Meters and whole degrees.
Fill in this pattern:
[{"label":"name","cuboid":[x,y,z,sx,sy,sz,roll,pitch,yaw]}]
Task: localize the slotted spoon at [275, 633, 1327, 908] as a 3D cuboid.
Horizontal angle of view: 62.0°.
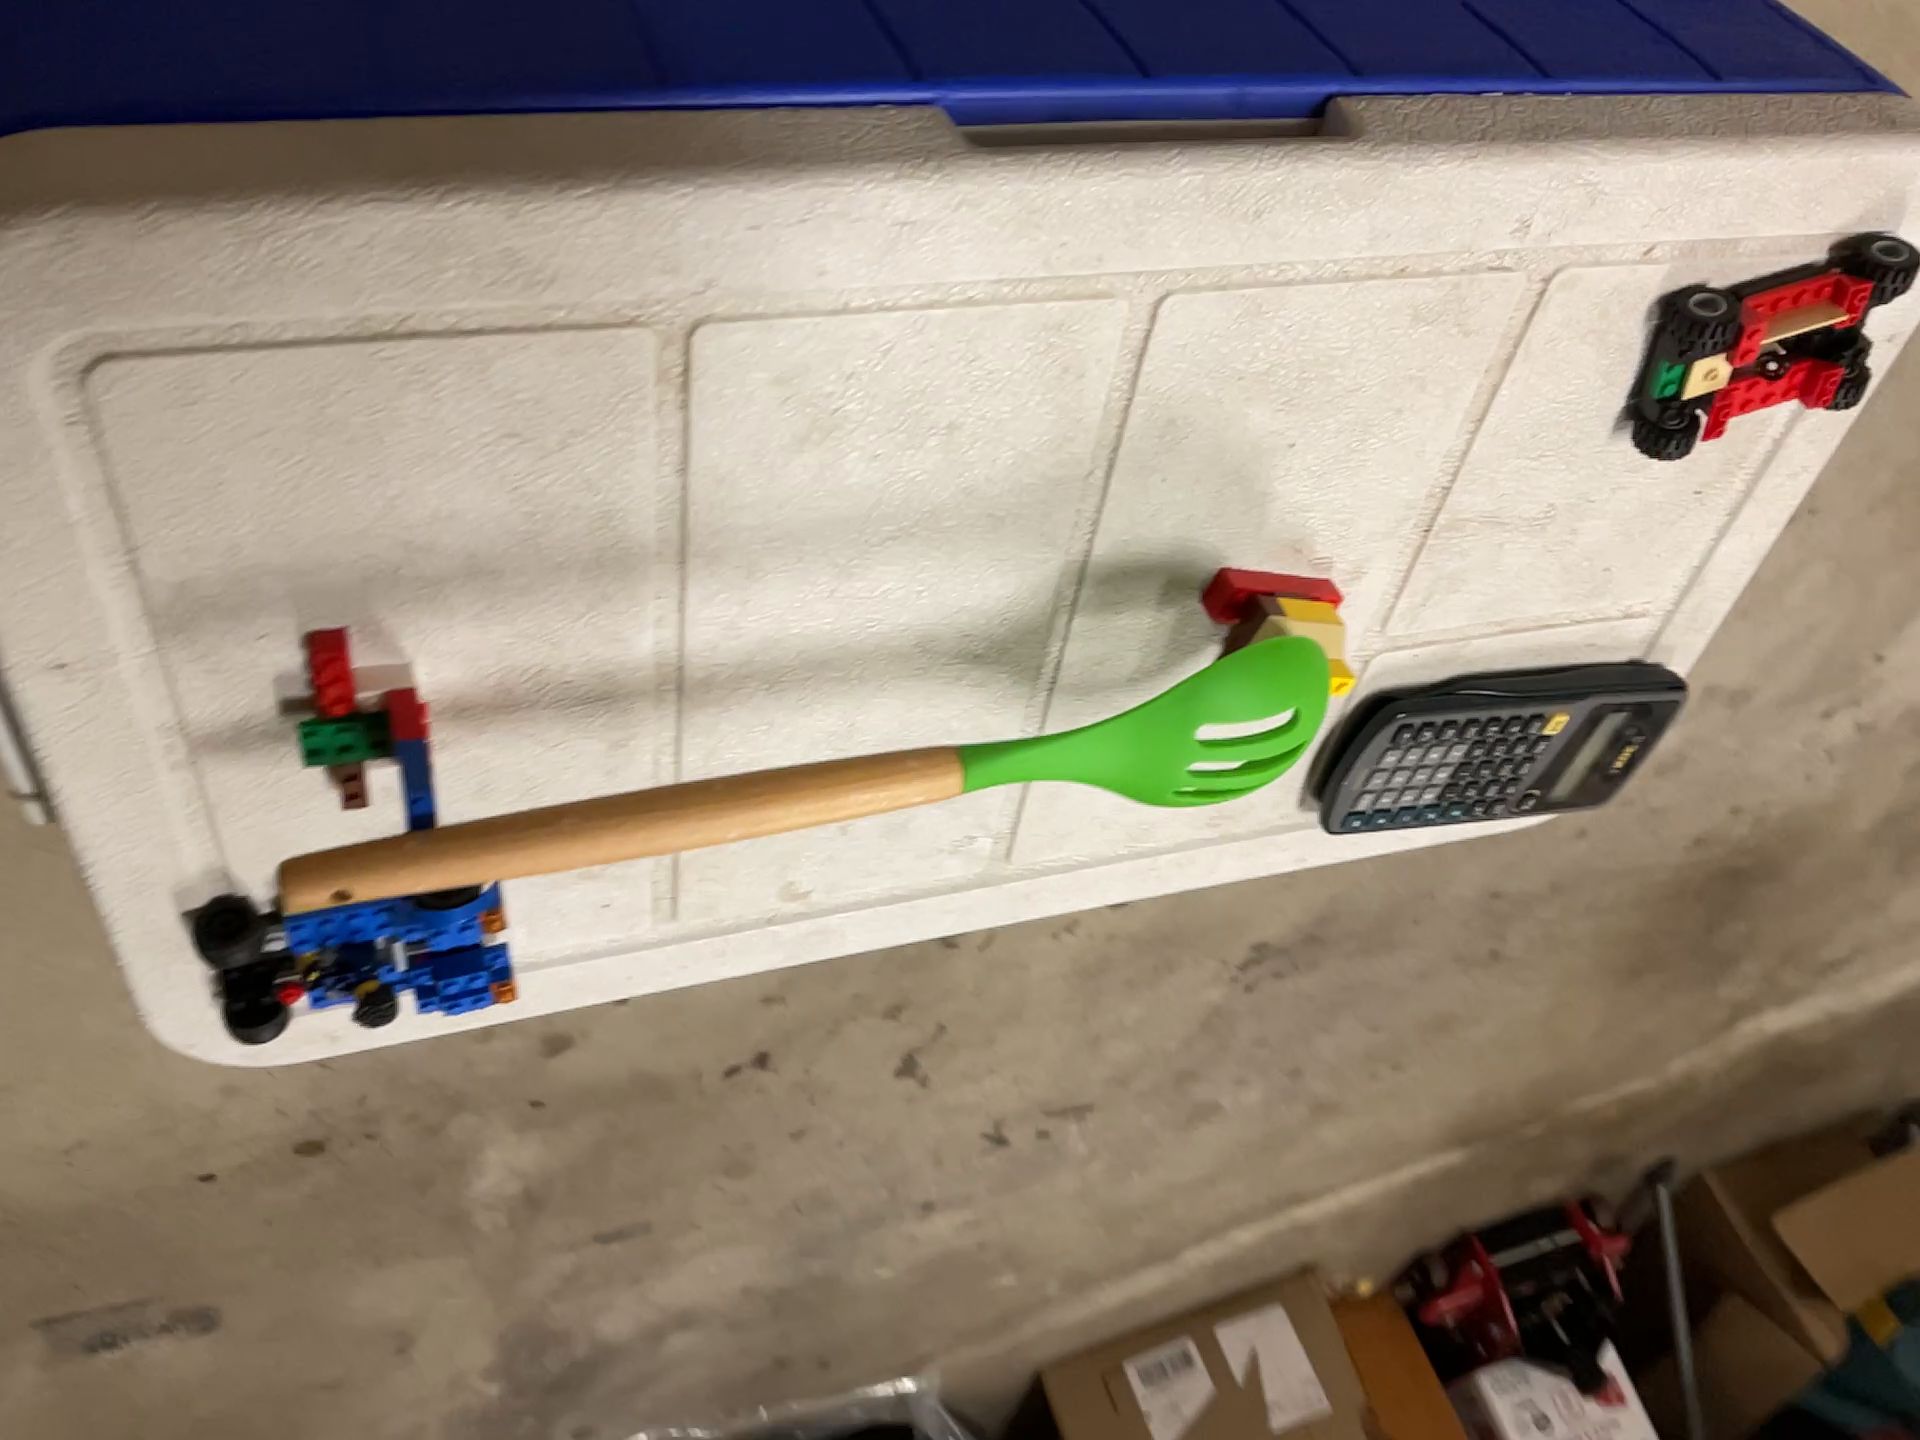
[{"label":"slotted spoon","cuboid":[-0.027,0.020,0.457,0.313,0.031,0.070,-9,141,-19]}]
